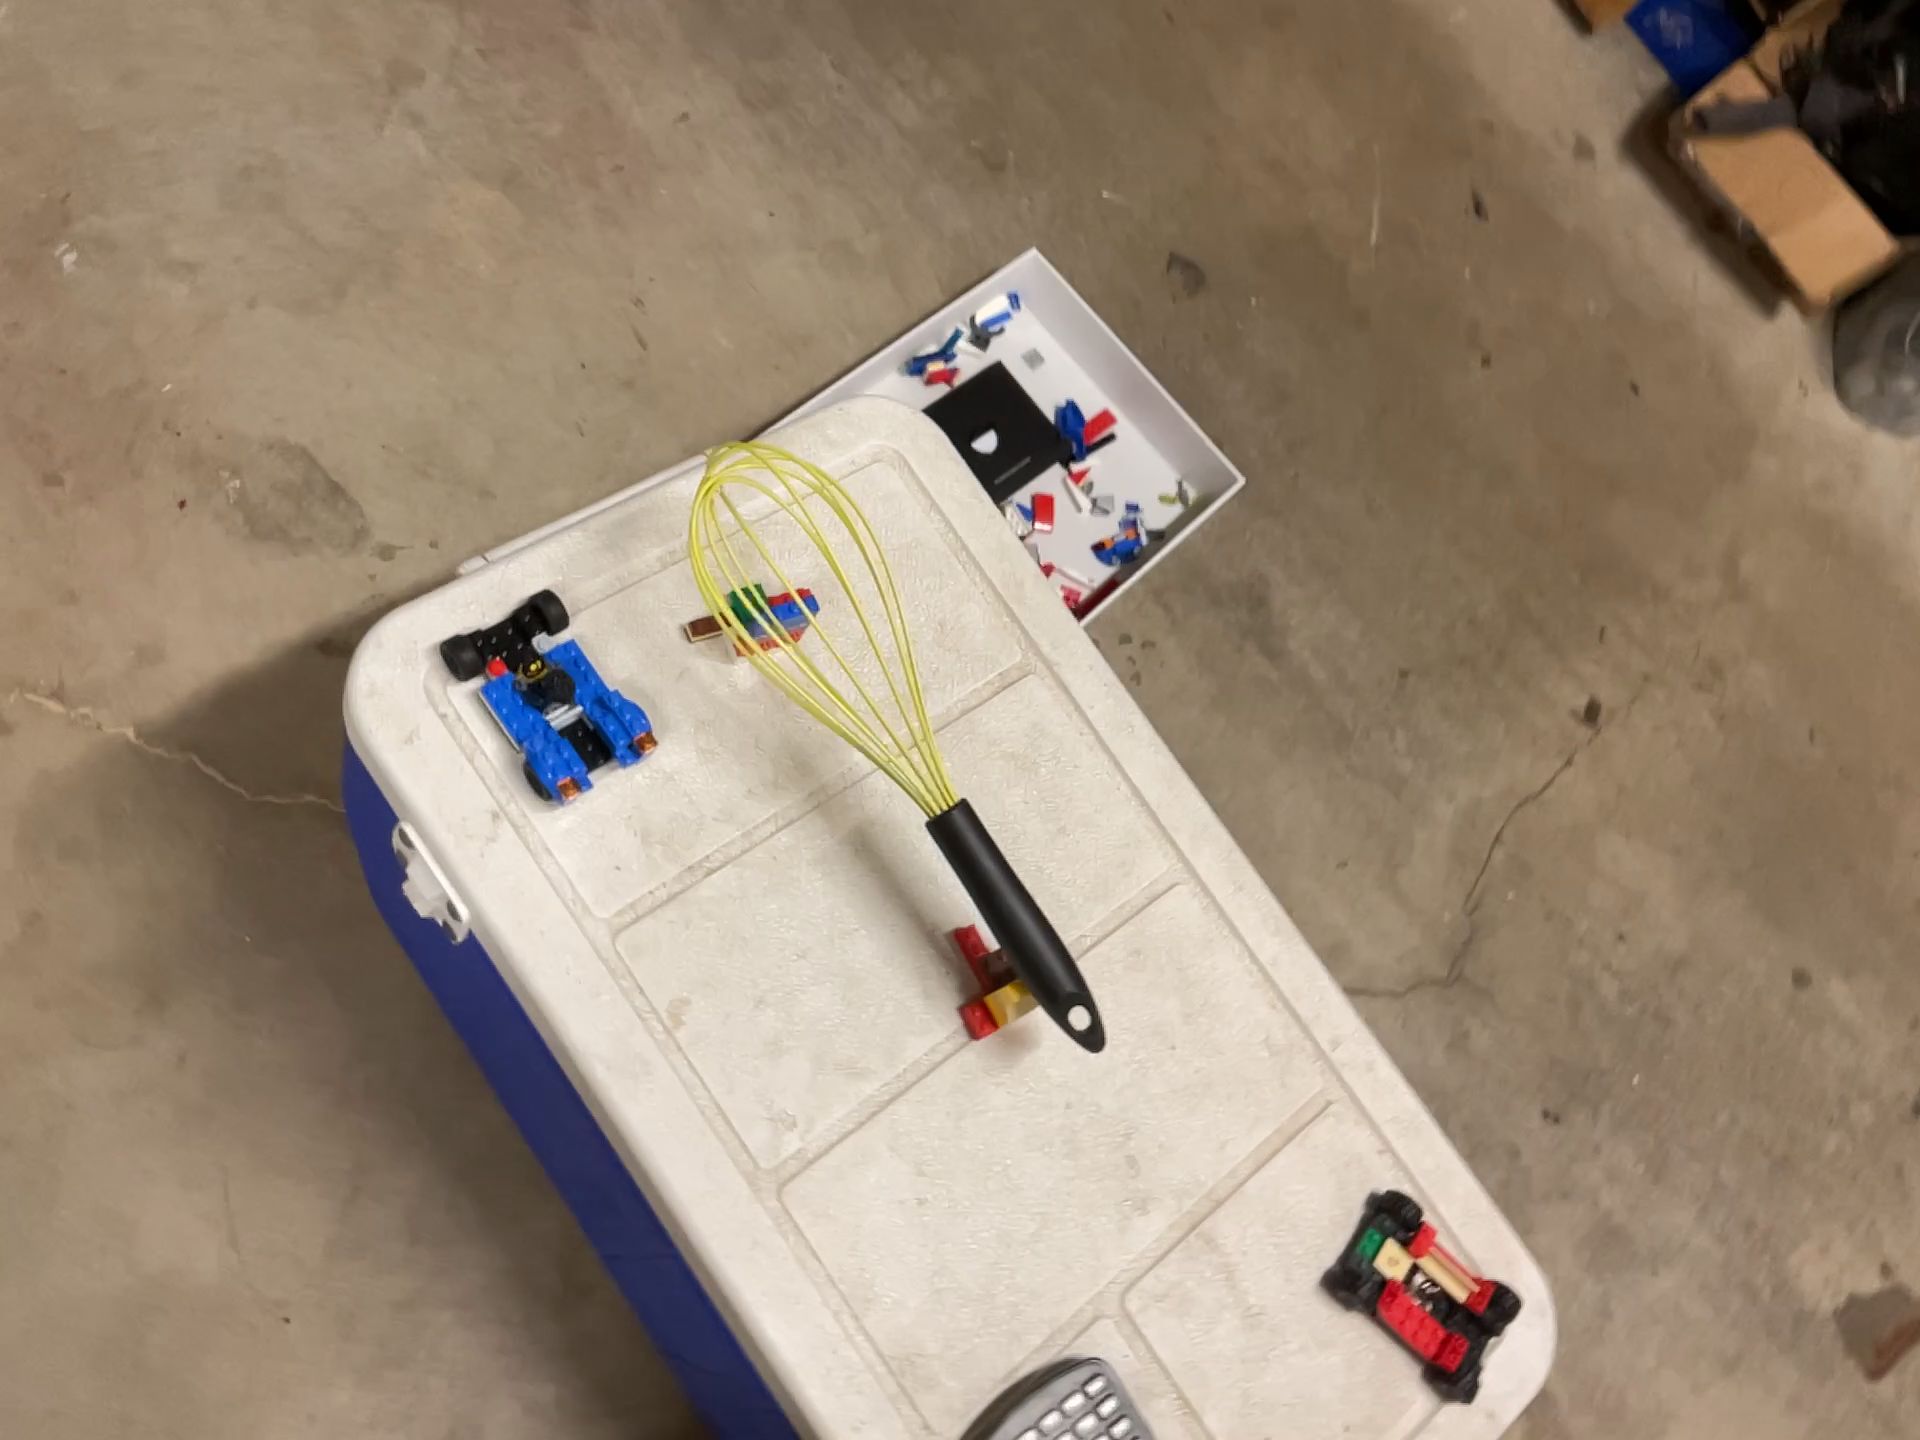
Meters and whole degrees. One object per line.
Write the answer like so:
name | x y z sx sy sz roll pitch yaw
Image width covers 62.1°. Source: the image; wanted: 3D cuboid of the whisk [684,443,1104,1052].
whisk | -0.023 0.014 0.698 0.080 0.067 0.311 -32 93 18
